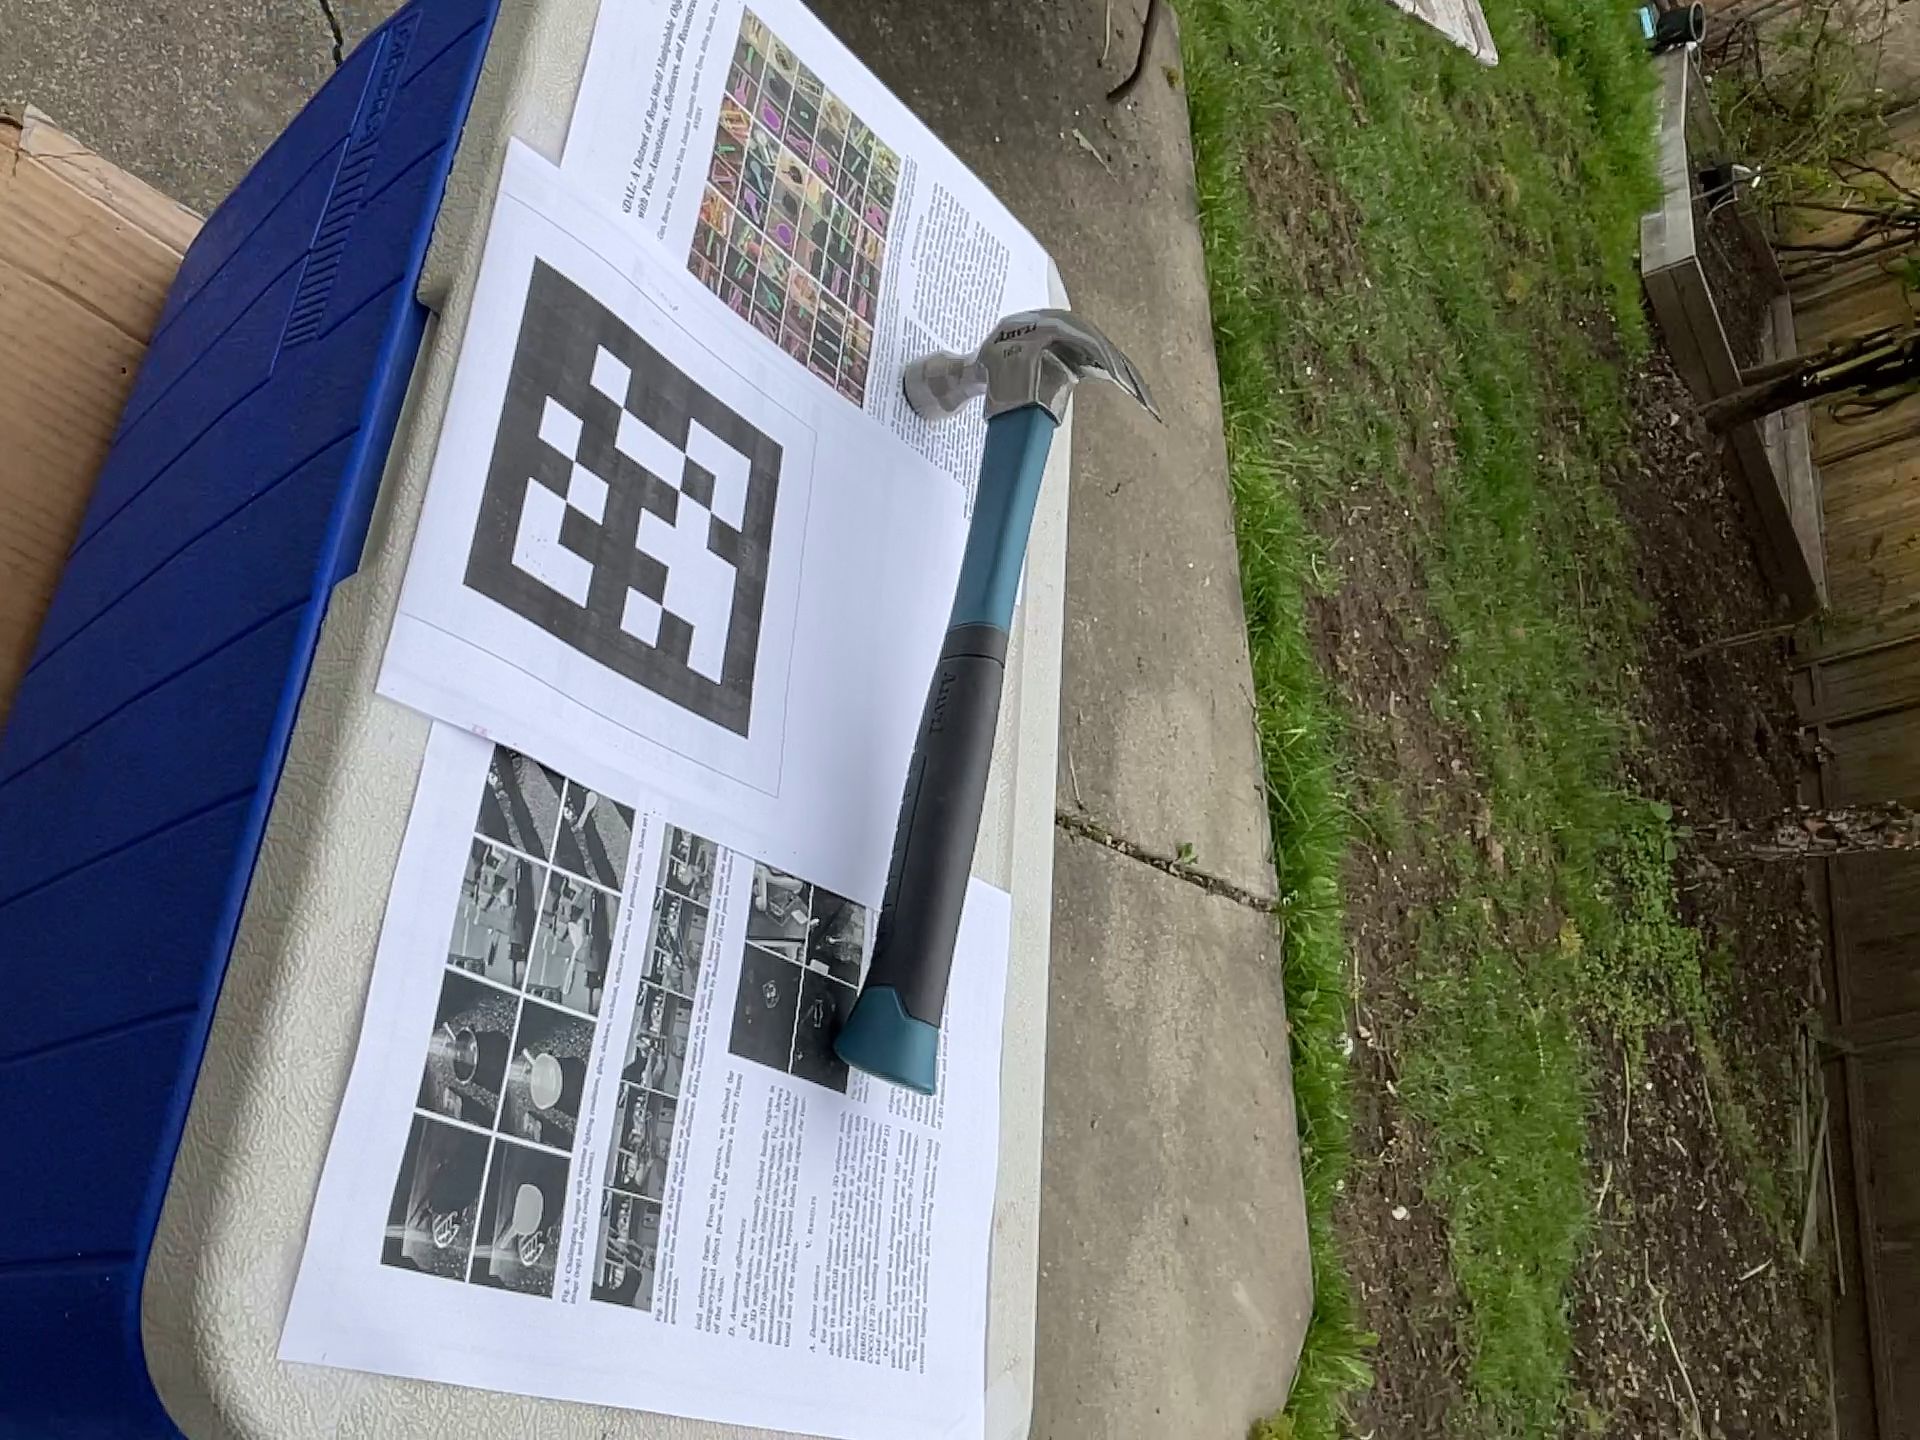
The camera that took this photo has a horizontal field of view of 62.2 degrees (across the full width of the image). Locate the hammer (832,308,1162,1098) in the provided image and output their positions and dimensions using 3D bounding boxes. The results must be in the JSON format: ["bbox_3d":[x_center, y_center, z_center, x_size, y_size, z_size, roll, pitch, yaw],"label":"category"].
[{"bbox_3d":[0.002,-0.020,0.620,0.033,0.128,0.331,32,60,-40],"label":"hammer"}]
